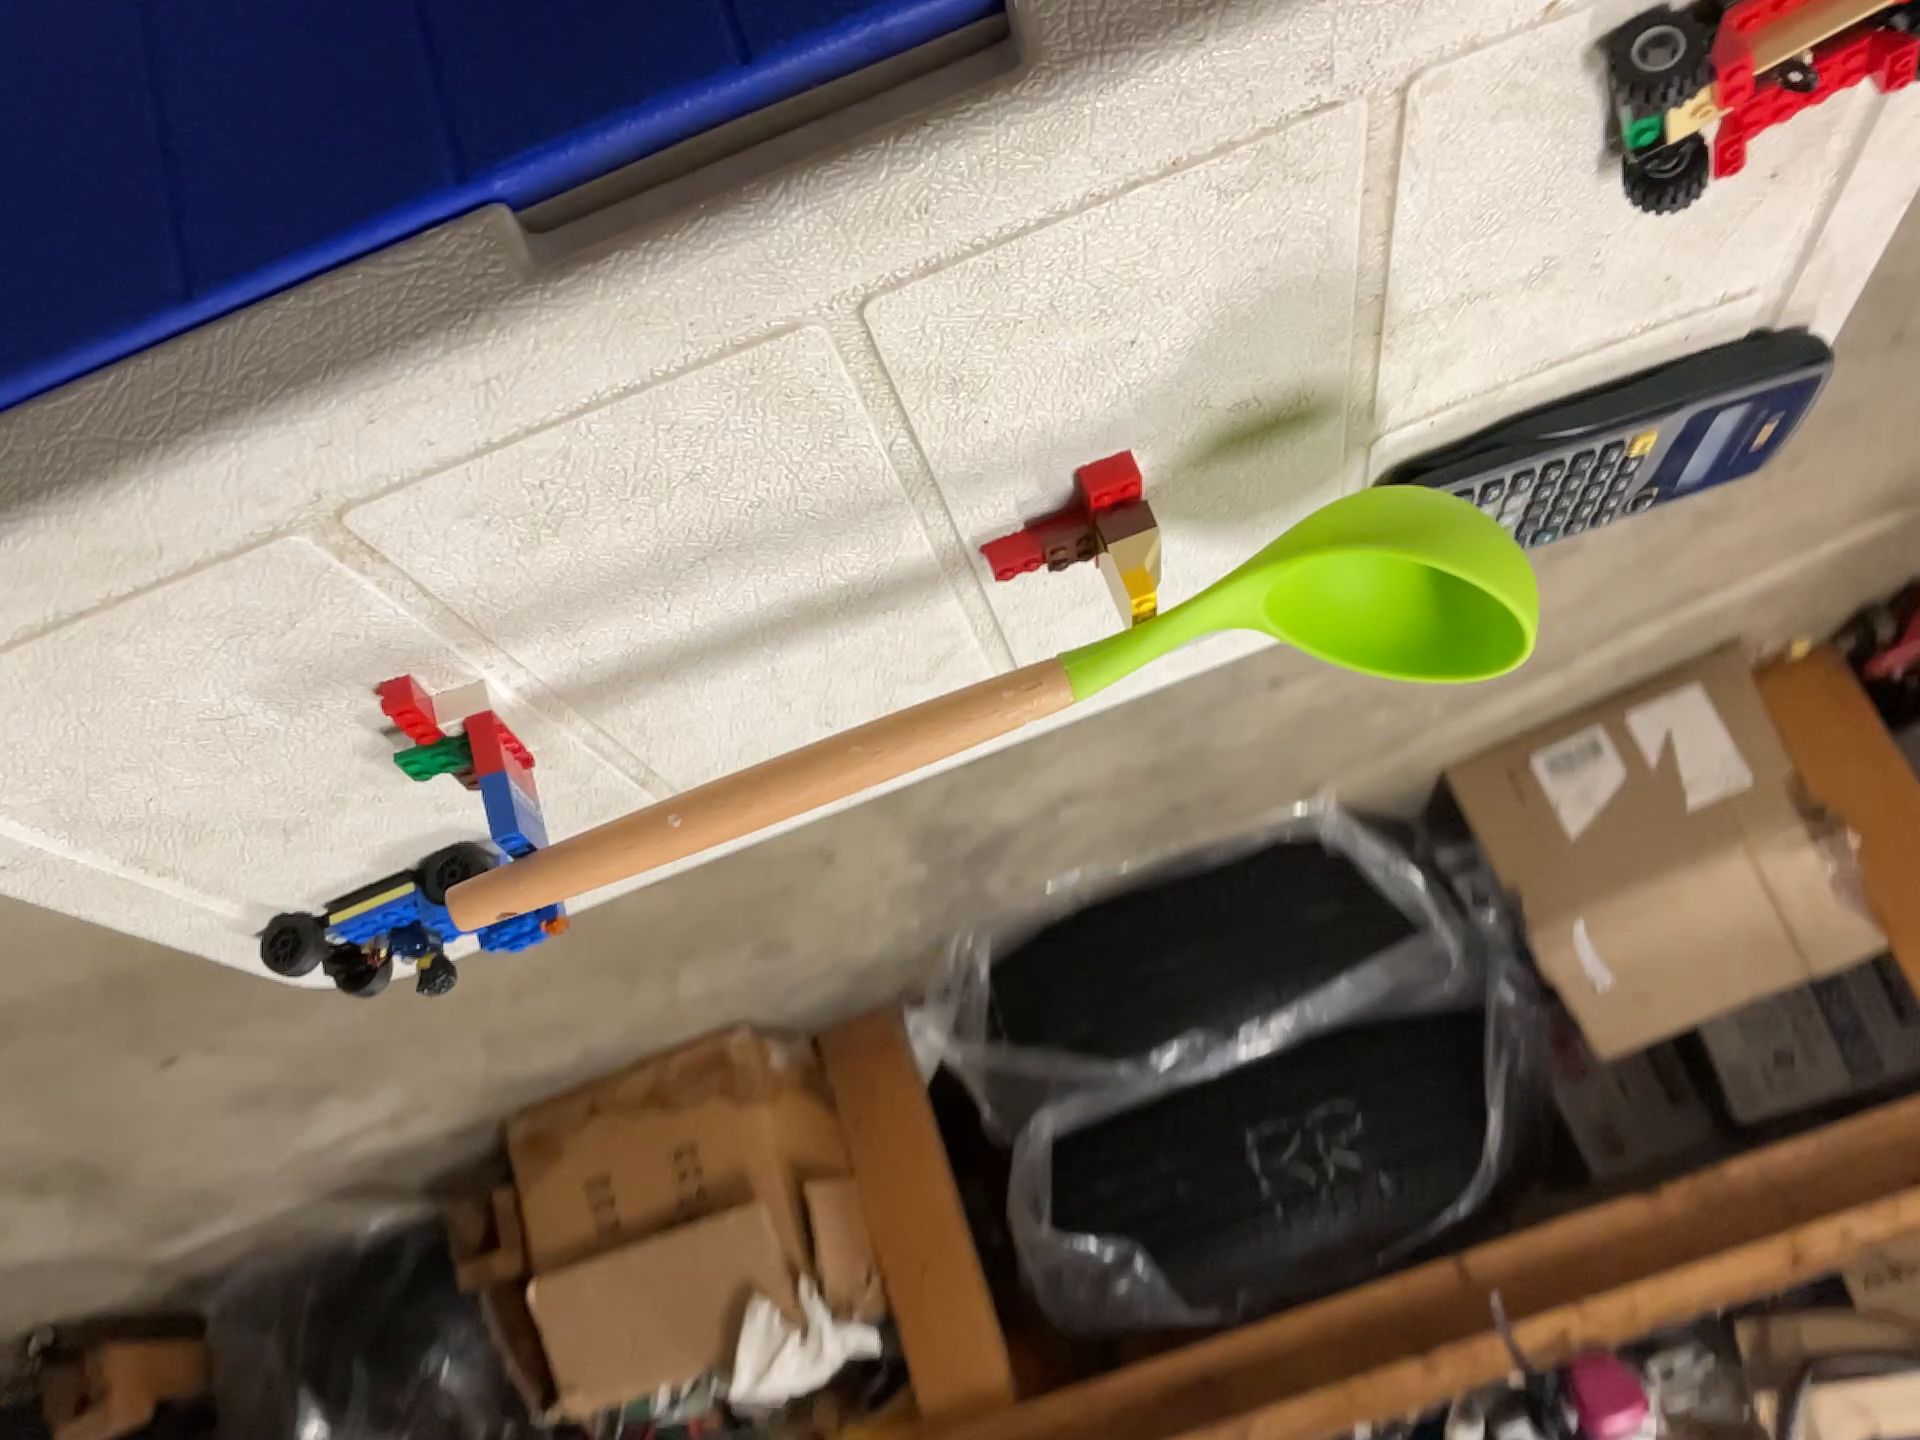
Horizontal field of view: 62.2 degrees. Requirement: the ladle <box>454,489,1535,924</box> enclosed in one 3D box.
[{"bbox_3d":[0.011,0.007,0.460,0.320,0.062,0.078,-20,159,-4],"label":"ladle"}]
